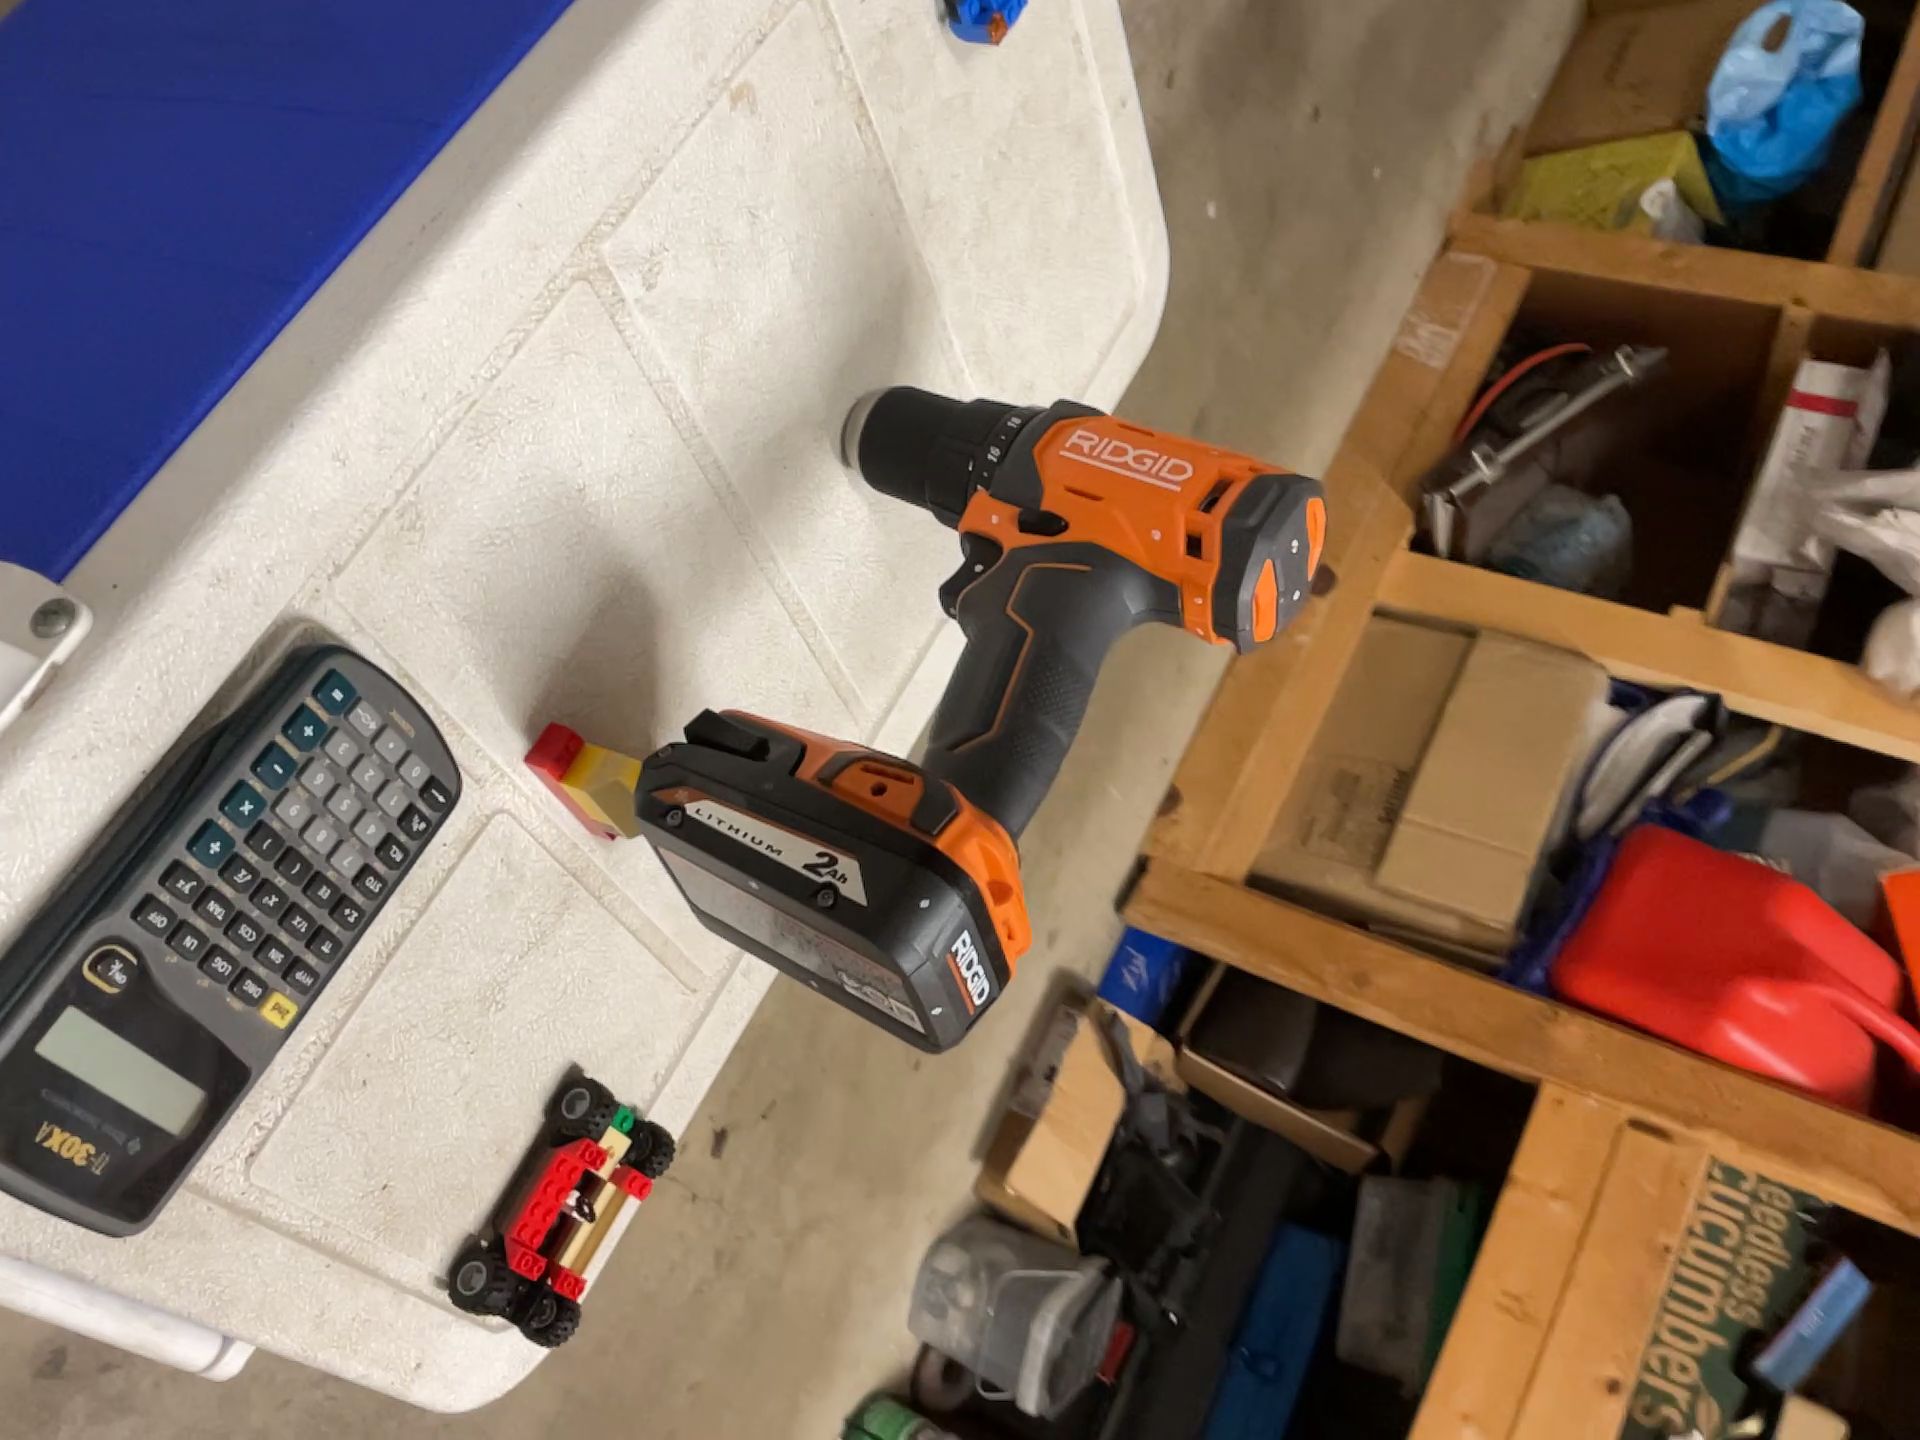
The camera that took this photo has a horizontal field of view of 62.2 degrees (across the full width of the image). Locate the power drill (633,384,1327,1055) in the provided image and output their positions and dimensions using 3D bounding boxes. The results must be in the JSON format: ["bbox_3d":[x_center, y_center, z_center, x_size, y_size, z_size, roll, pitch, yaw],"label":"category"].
[{"bbox_3d":[-0.009,-0.024,0.535,0.226,0.185,0.084,-52,148,-25],"label":"power drill"}]
